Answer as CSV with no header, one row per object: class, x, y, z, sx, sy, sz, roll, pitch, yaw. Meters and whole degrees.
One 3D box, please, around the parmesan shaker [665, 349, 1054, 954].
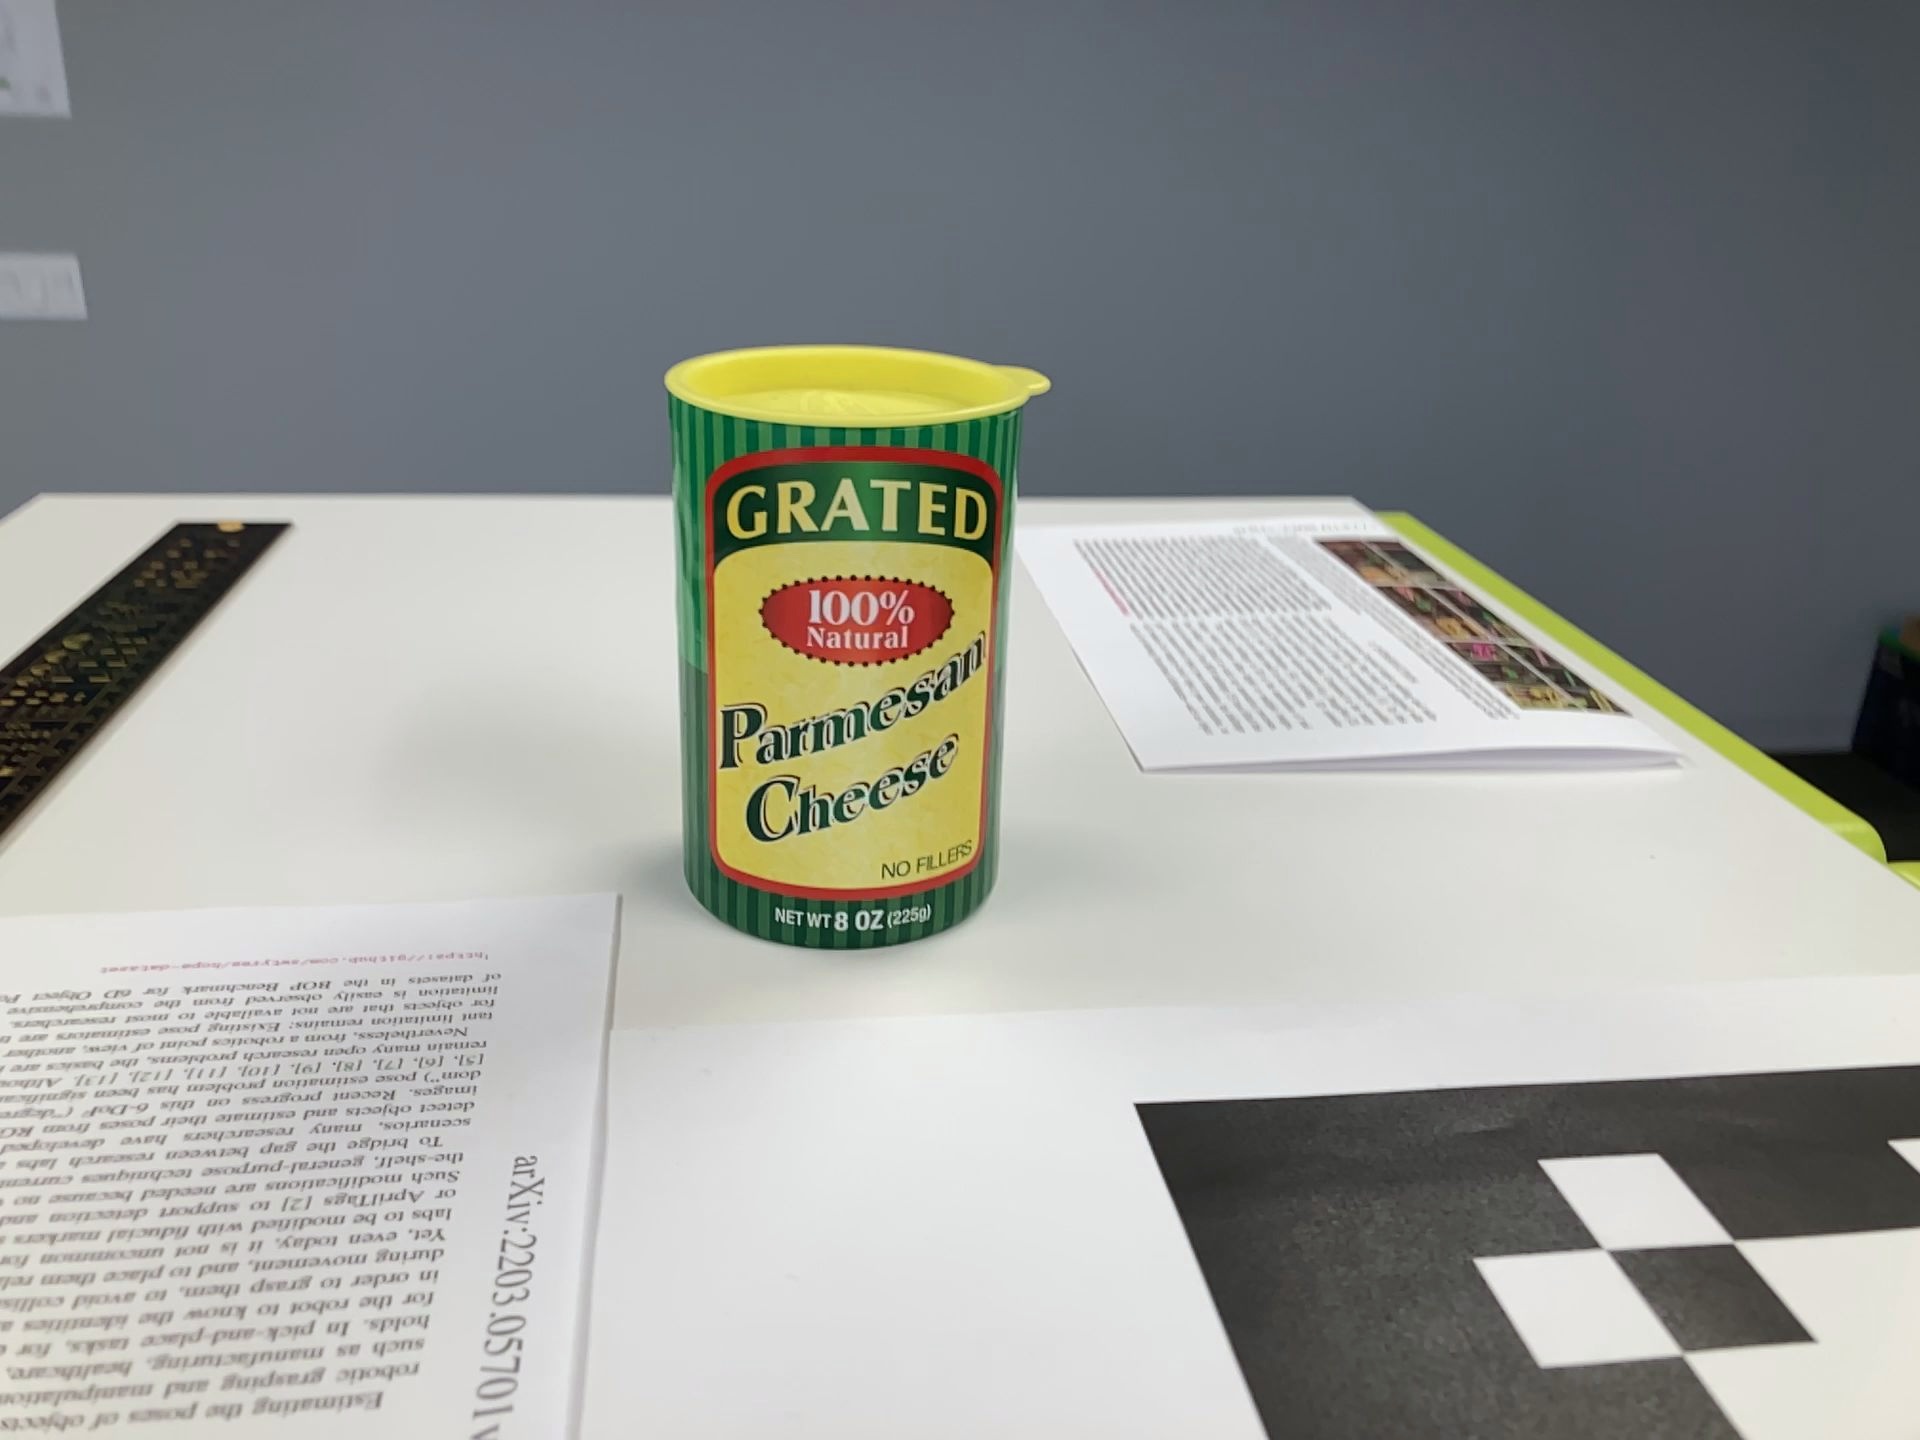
parmesan shaker,-0.019,-0.015,0.308,0.071,0.103,0.071,2,22,-1
